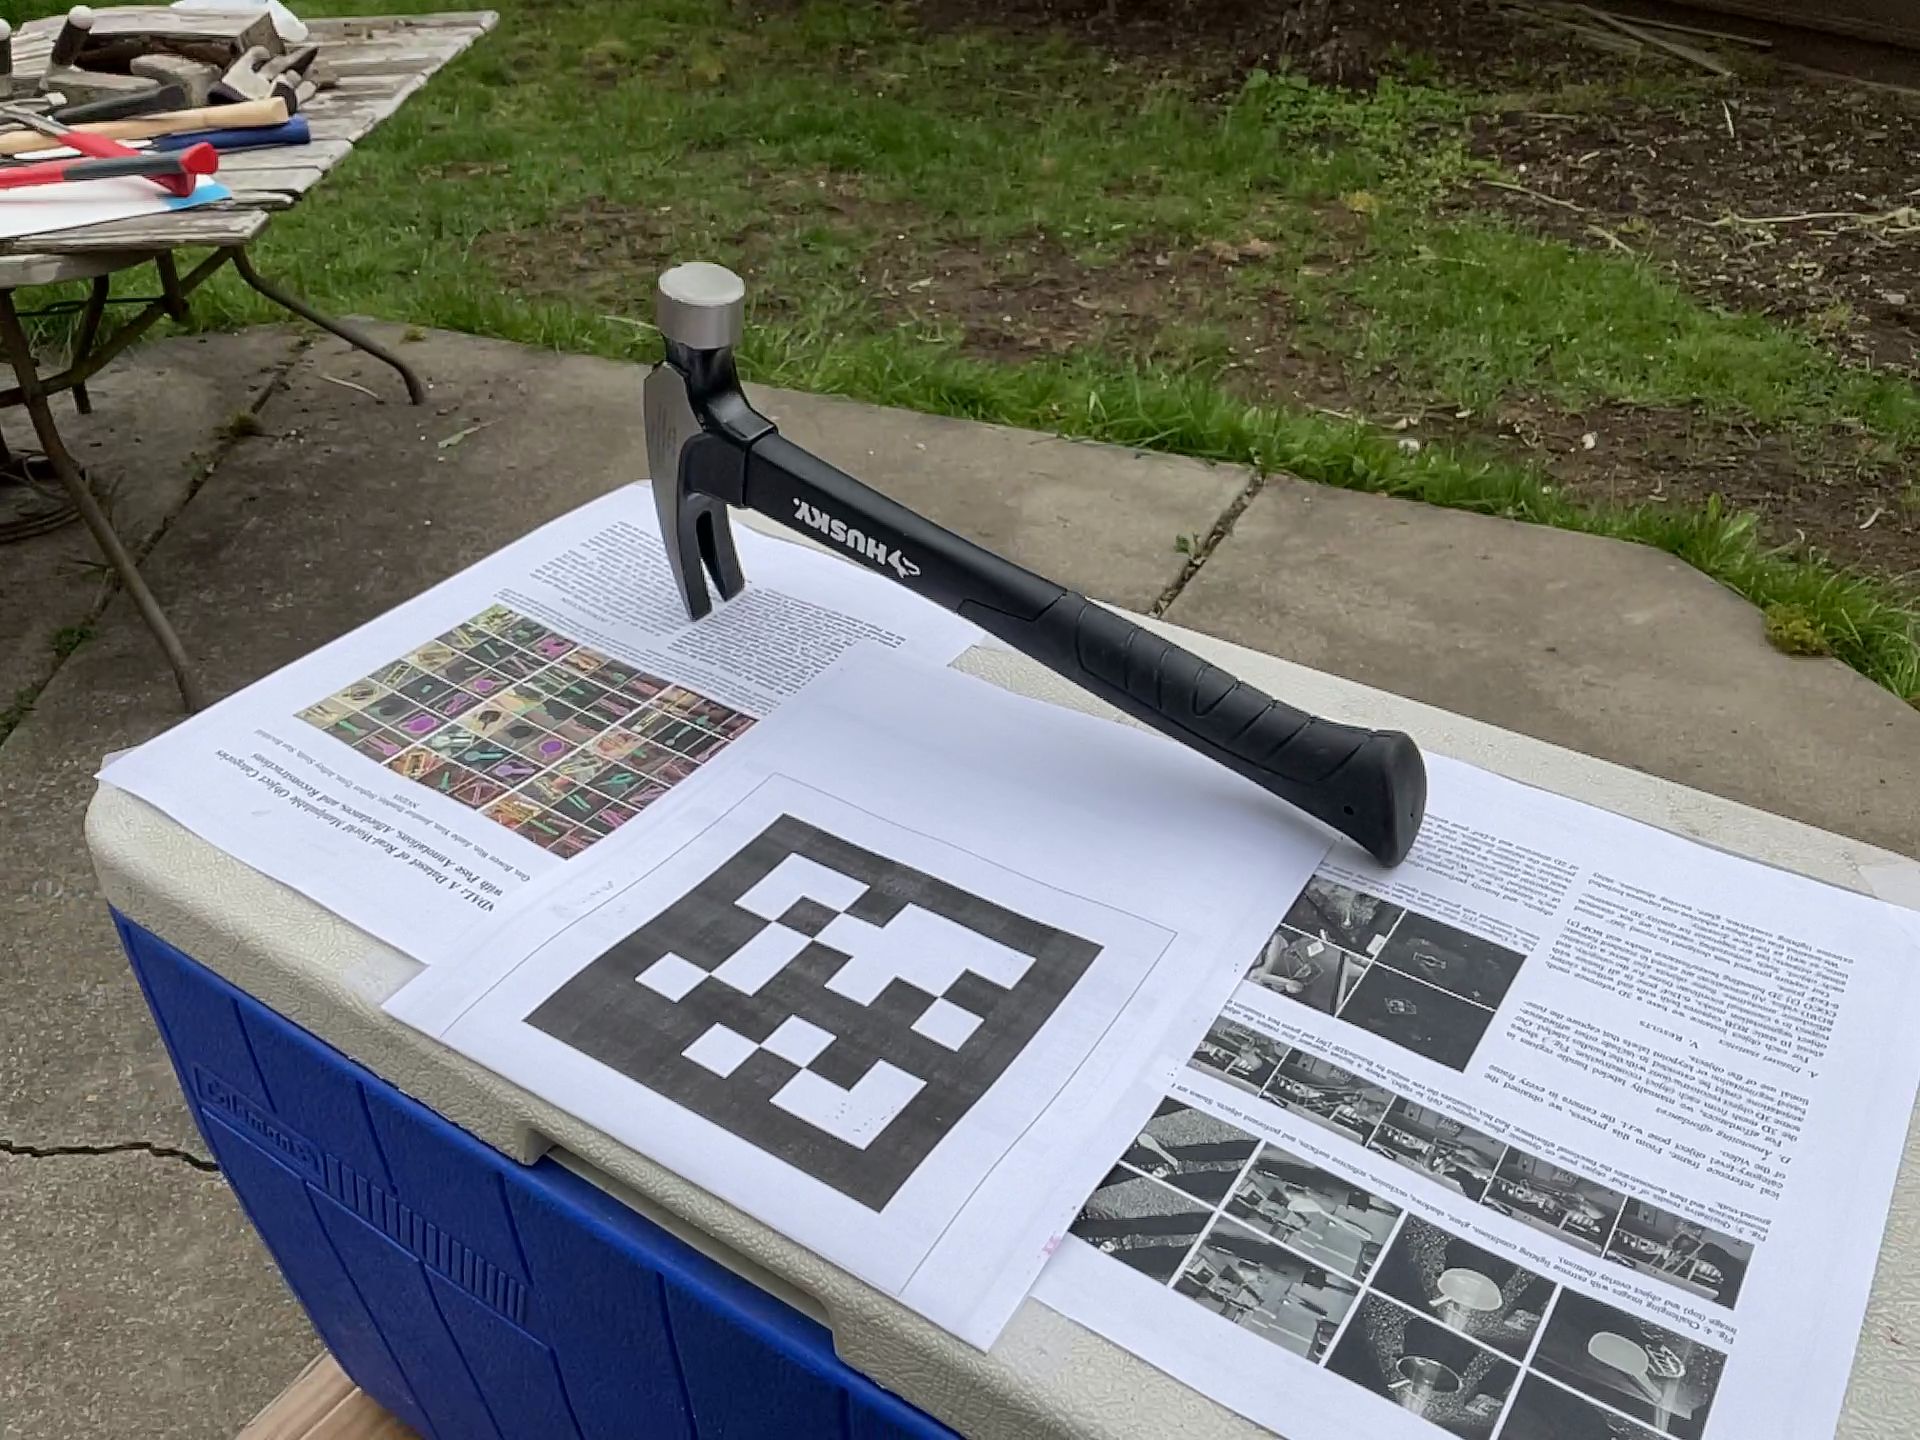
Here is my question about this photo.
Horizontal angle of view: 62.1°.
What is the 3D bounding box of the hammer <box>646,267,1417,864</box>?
[{"bbox_3d":[0.015,-0.040,0.600,0.335,0.146,0.035,30,45,20],"label":"hammer"}]
